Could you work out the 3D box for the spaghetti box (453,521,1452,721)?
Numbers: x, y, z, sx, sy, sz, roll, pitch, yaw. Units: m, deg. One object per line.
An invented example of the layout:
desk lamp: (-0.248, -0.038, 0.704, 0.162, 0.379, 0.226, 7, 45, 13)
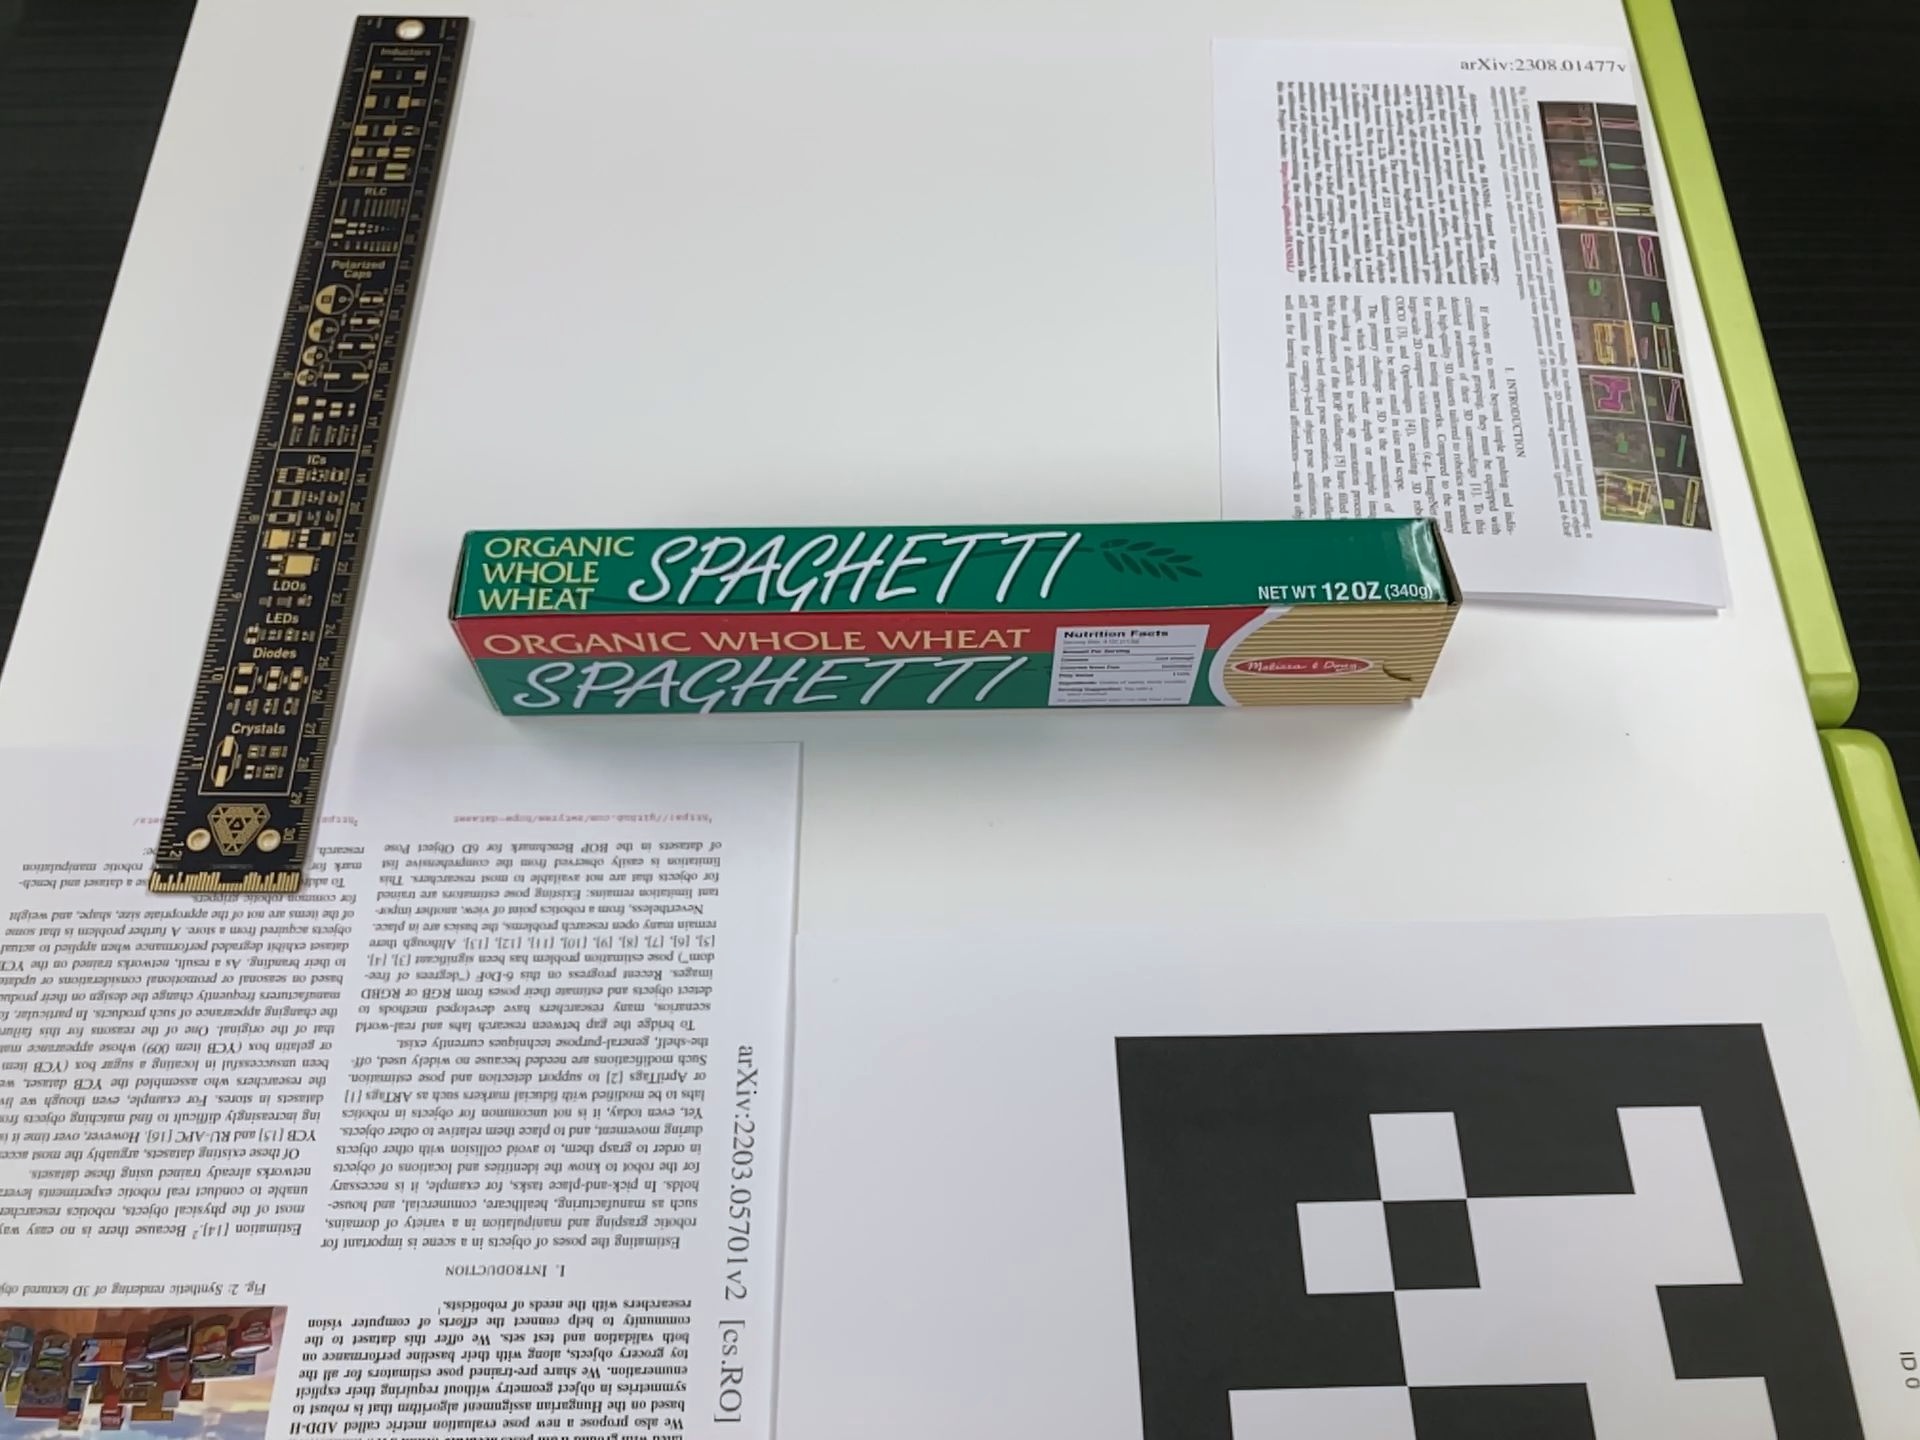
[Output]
spaghetti box: (-0.002, -0.025, 0.419, 0.250, 0.050, 0.028, -1, 60, -1)
